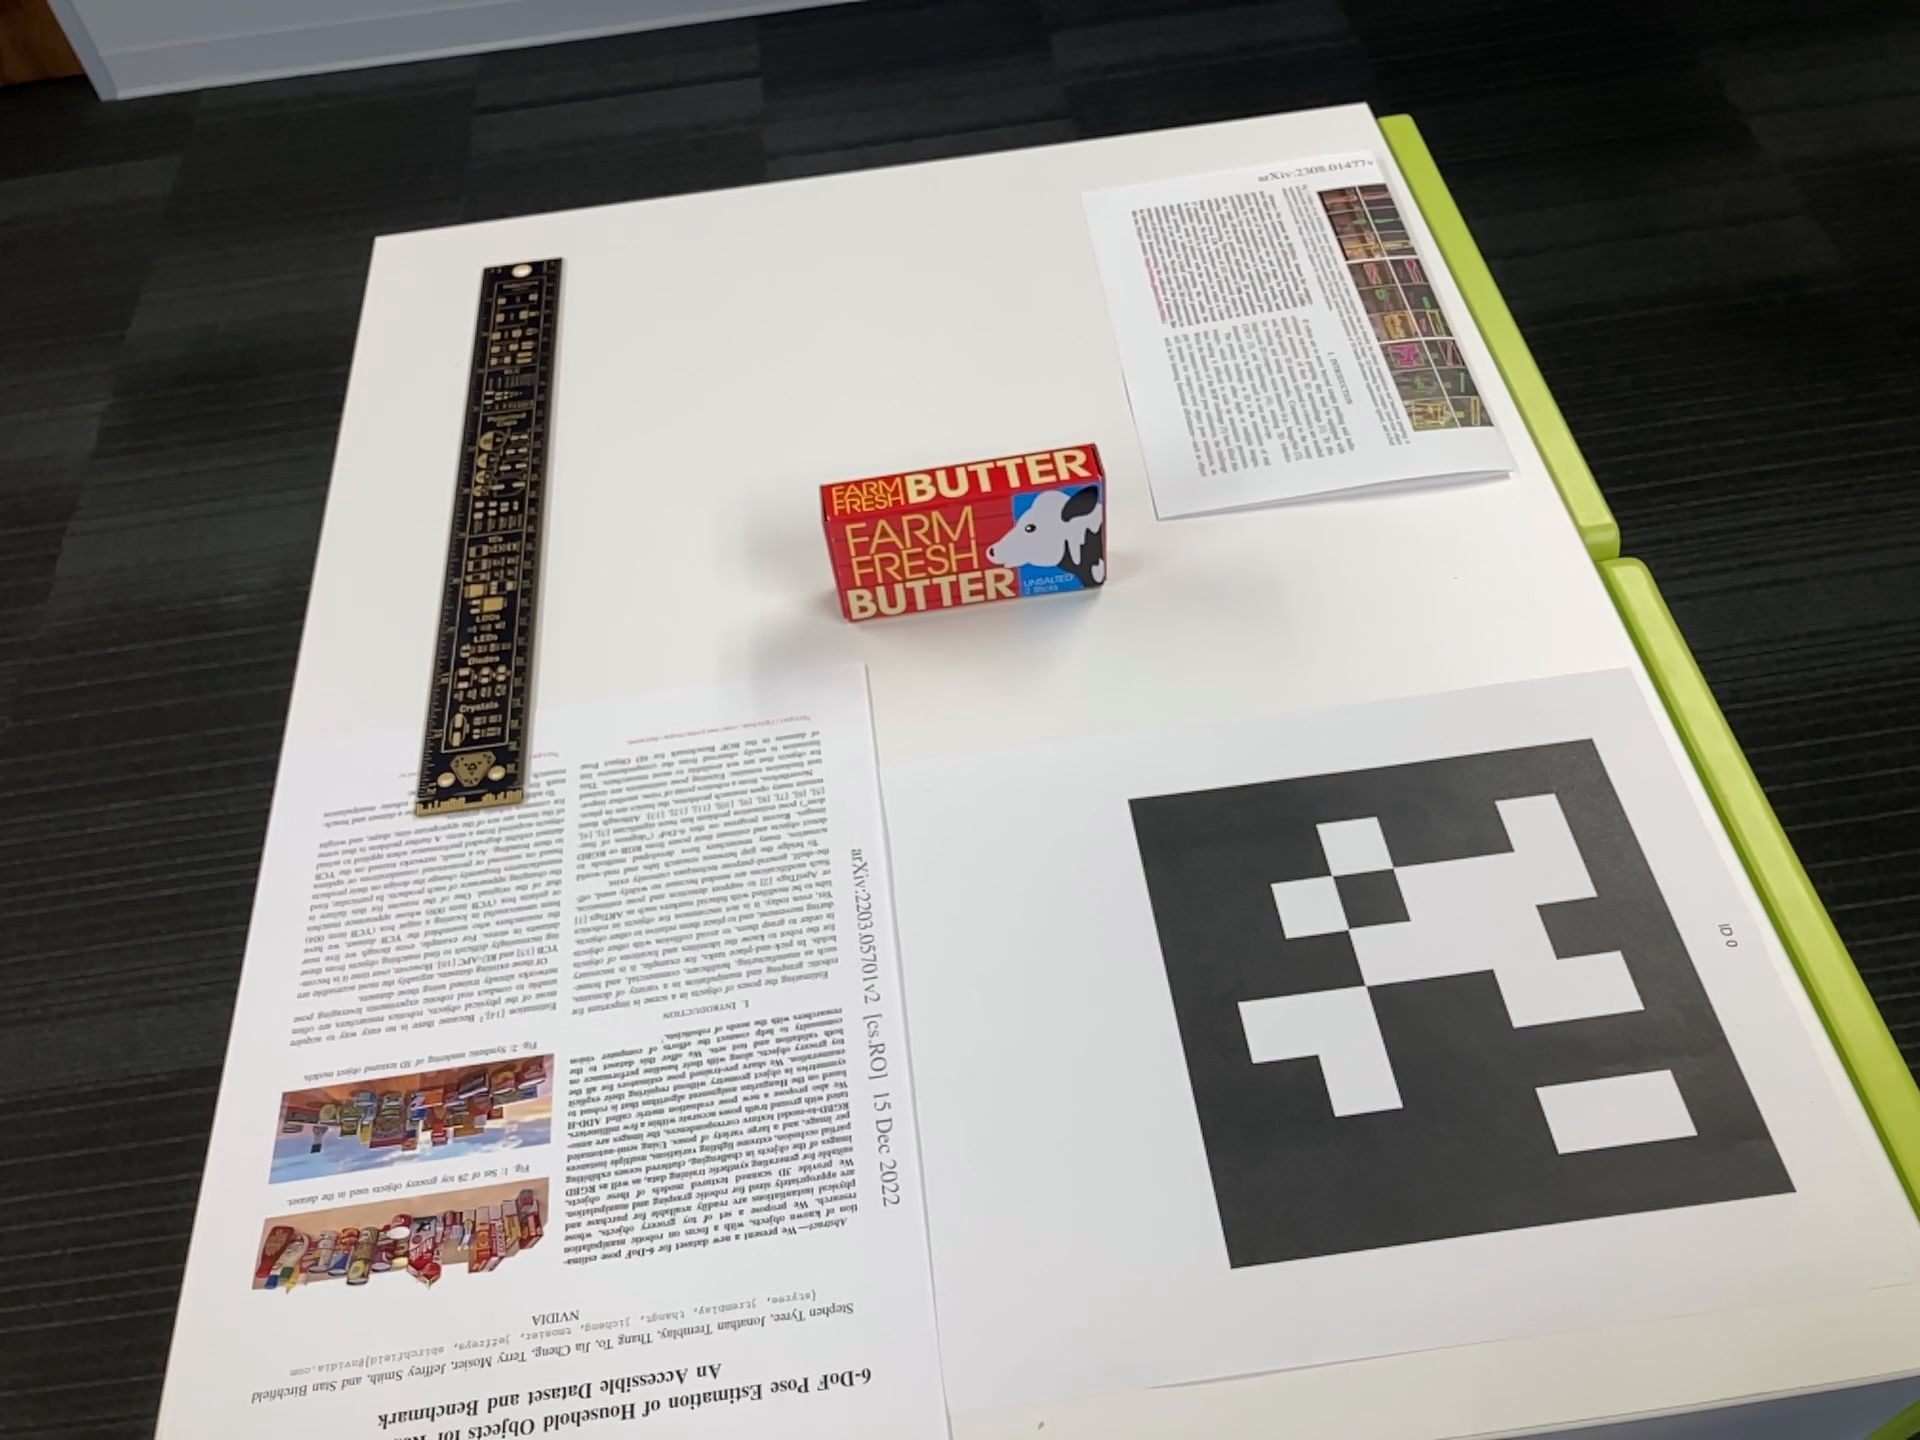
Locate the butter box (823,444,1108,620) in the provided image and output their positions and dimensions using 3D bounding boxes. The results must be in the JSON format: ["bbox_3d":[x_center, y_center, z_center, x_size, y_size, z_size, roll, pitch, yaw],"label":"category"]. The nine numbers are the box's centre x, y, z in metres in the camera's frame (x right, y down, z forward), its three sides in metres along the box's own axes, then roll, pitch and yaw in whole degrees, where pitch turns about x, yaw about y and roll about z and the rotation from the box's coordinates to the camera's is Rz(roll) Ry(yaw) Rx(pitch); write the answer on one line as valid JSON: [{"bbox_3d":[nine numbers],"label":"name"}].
[{"bbox_3d":[0.003,-0.071,0.599,0.103,0.053,0.024,-8,48,-1],"label":"butter box"}]
